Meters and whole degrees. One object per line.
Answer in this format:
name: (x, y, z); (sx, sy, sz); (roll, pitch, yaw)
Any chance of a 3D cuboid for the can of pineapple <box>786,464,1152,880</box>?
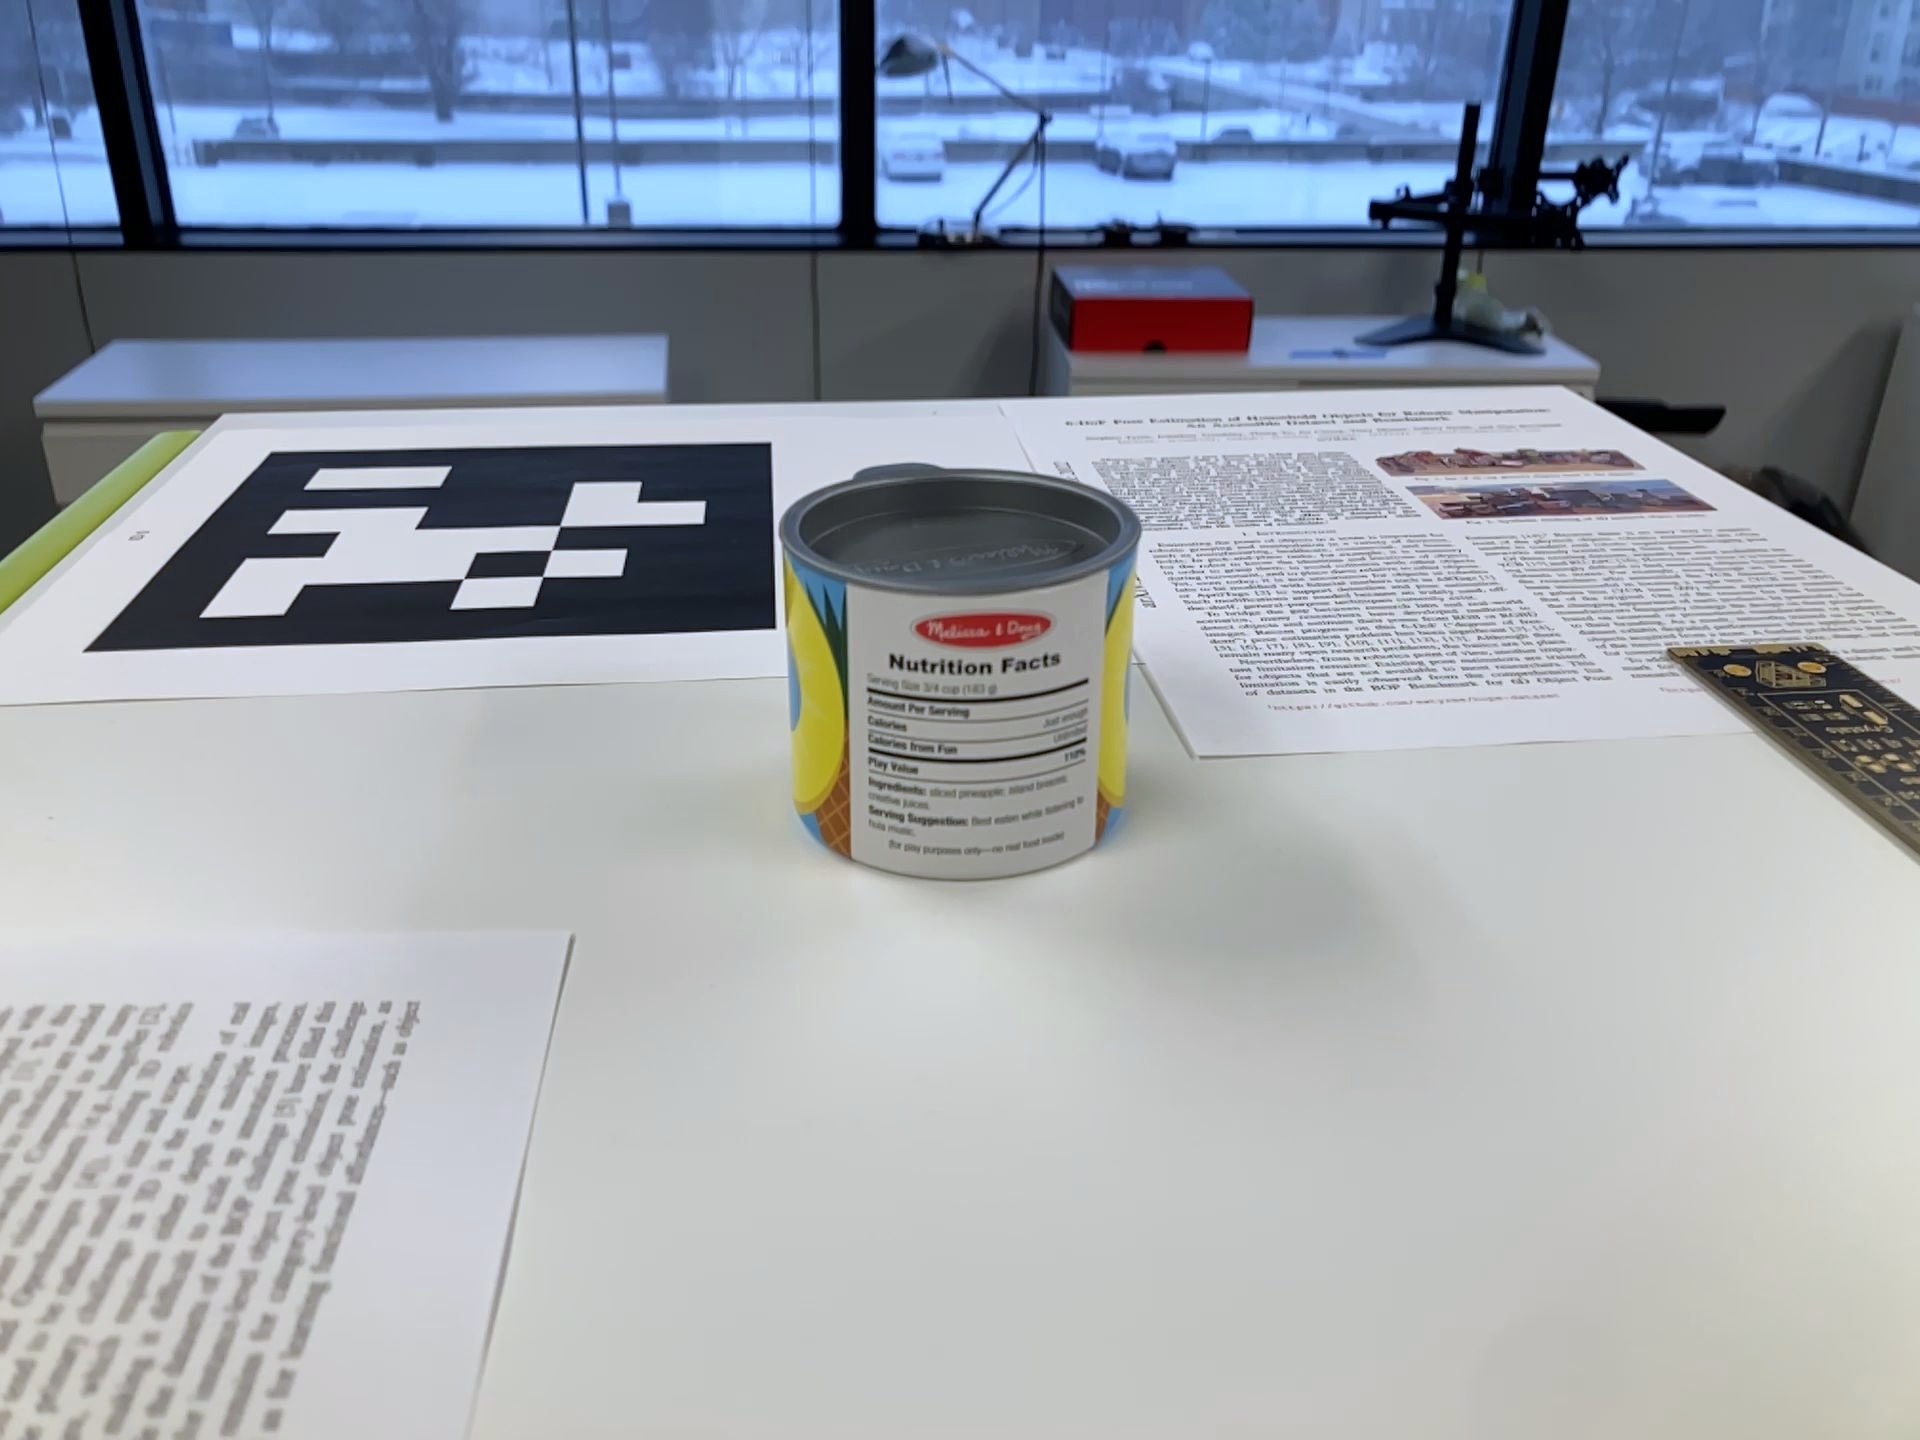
can of pineapple: (0.001, -0.012, 0.301); (0.071, 0.058, 0.071); (1, 25, -1)
